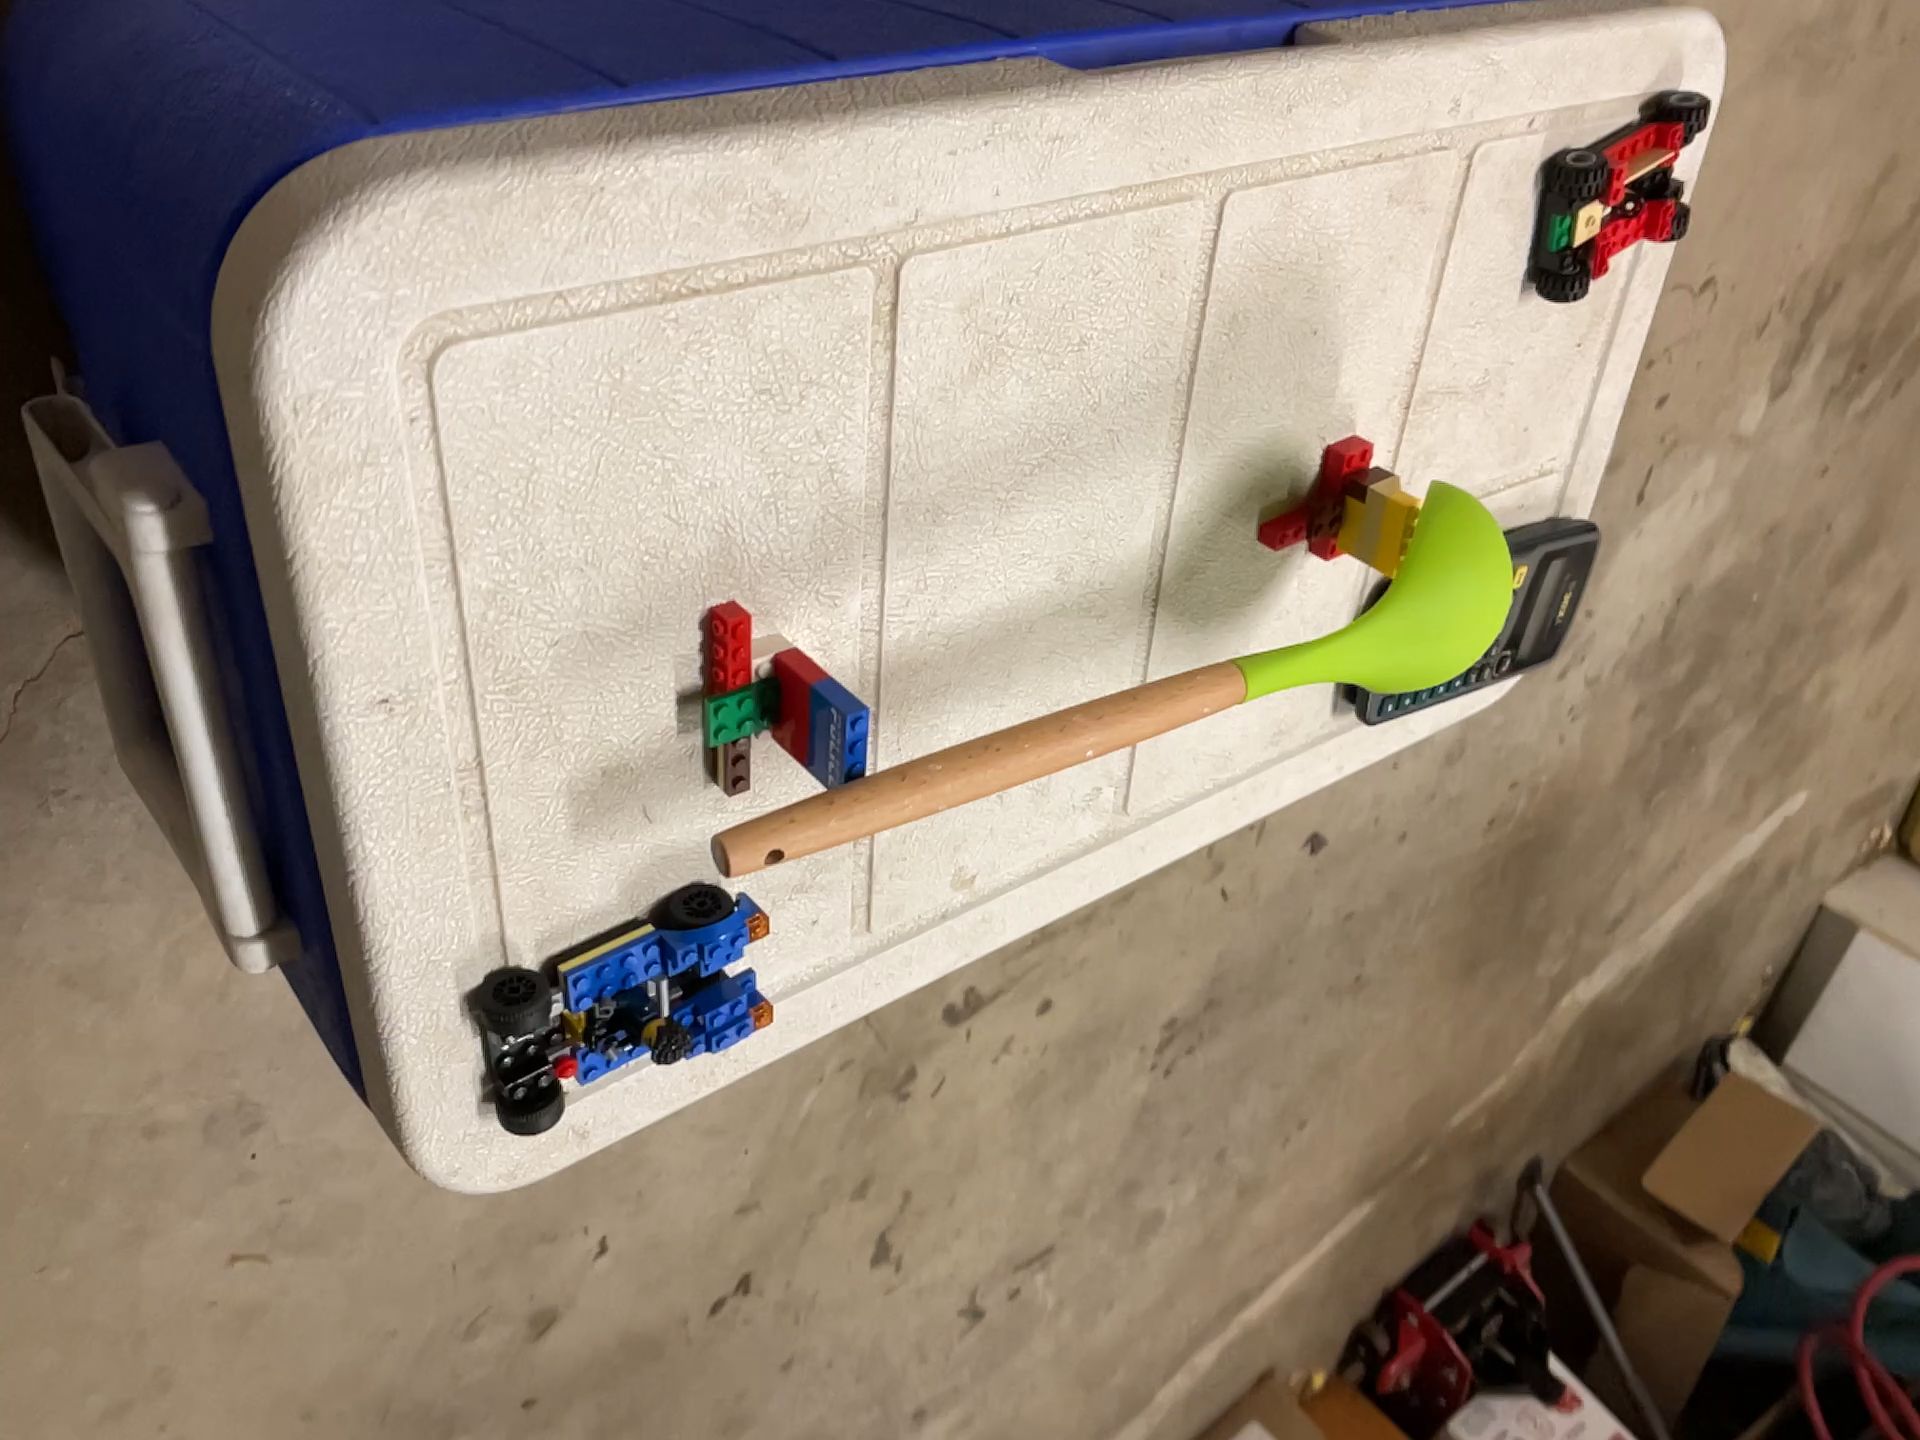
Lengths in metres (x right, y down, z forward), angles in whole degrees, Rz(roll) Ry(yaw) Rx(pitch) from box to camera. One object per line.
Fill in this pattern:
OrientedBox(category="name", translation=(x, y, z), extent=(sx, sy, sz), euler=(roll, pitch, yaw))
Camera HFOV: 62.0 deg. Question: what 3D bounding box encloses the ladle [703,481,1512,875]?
OrientedBox(category="ladle", translation=(0.061, -0.013, 0.521), extent=(0.320, 0.062, 0.078), euler=(-17, 136, -27))
